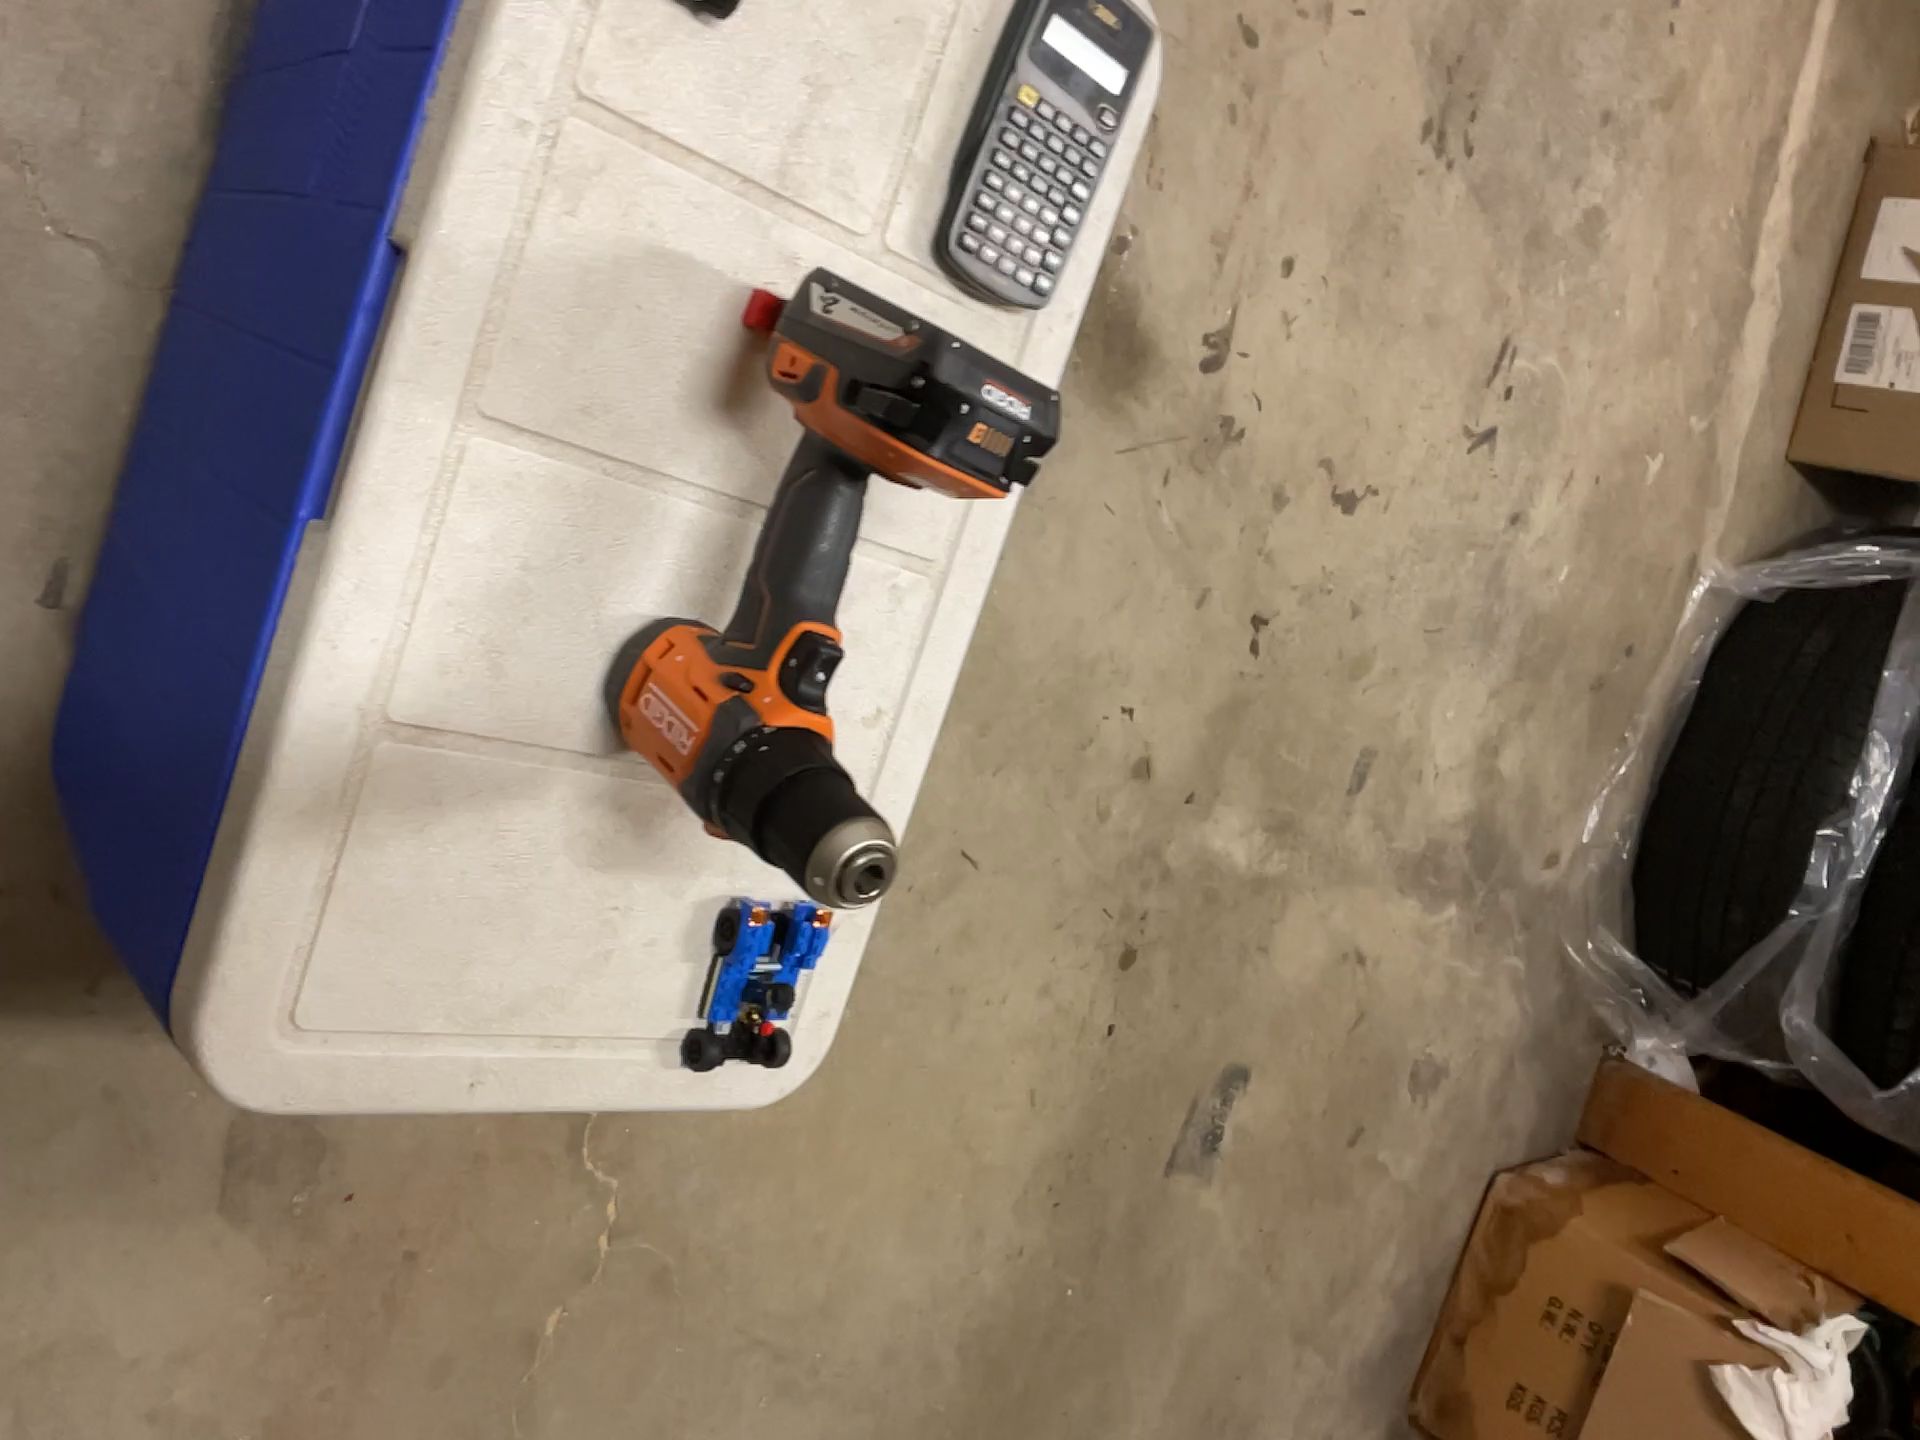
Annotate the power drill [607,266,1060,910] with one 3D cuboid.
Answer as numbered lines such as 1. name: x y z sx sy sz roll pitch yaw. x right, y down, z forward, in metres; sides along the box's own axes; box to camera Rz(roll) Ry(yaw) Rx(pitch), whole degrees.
1. power drill: -0.049 -0.050 0.646 0.084 0.185 0.226 18 105 -43
